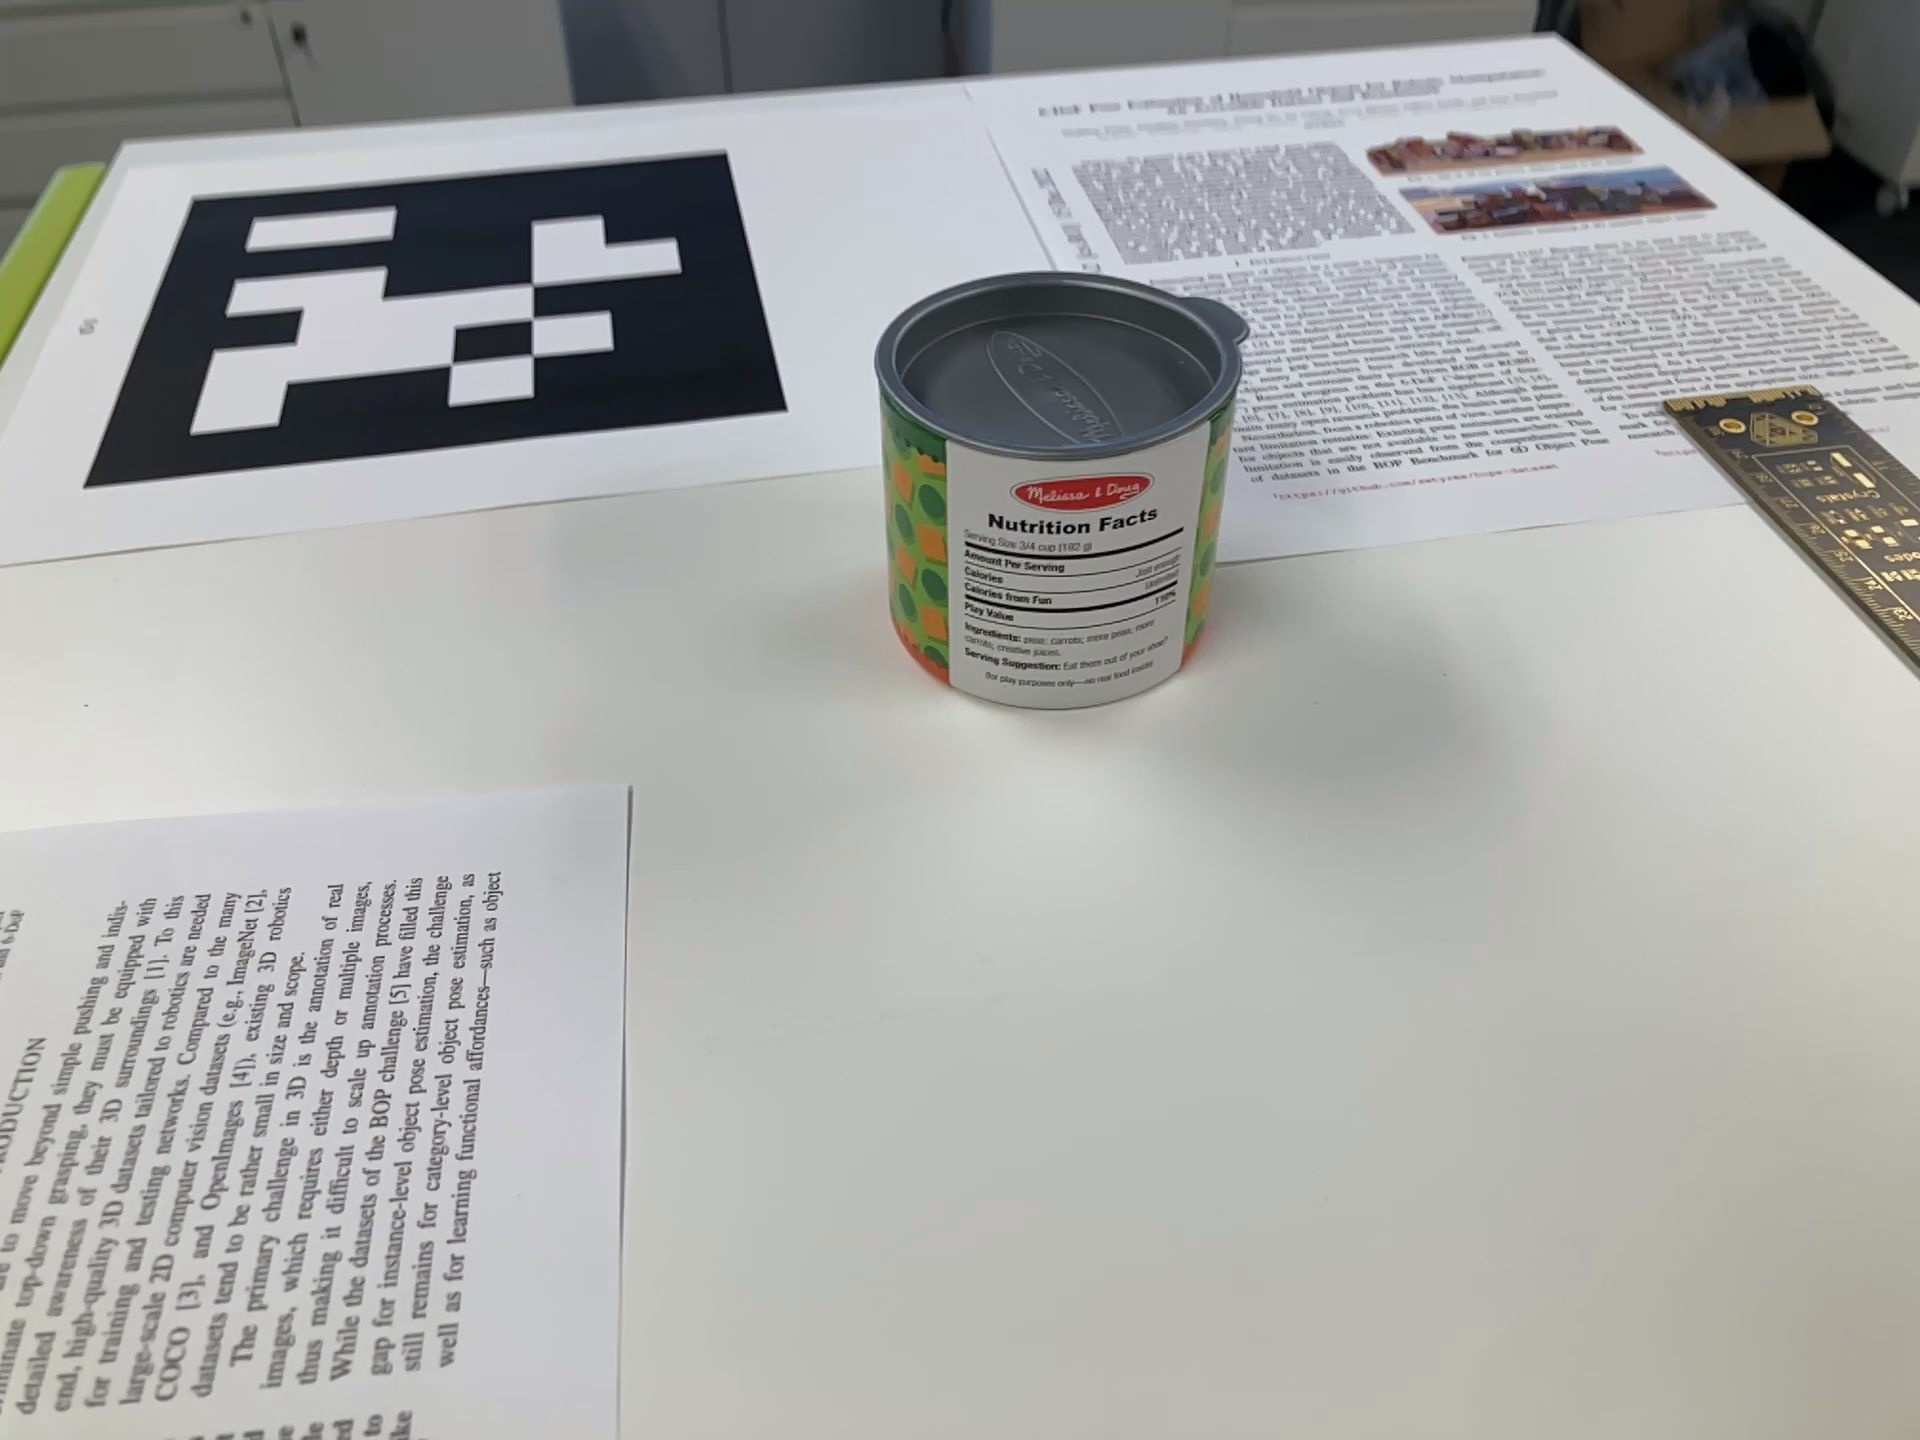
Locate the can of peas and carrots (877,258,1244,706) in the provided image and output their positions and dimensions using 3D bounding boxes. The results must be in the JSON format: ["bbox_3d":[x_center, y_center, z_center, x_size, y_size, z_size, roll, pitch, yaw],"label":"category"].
[{"bbox_3d":[0.018,-0.047,0.307,0.071,0.059,0.071,0,42,0],"label":"can of peas and carrots"}]
